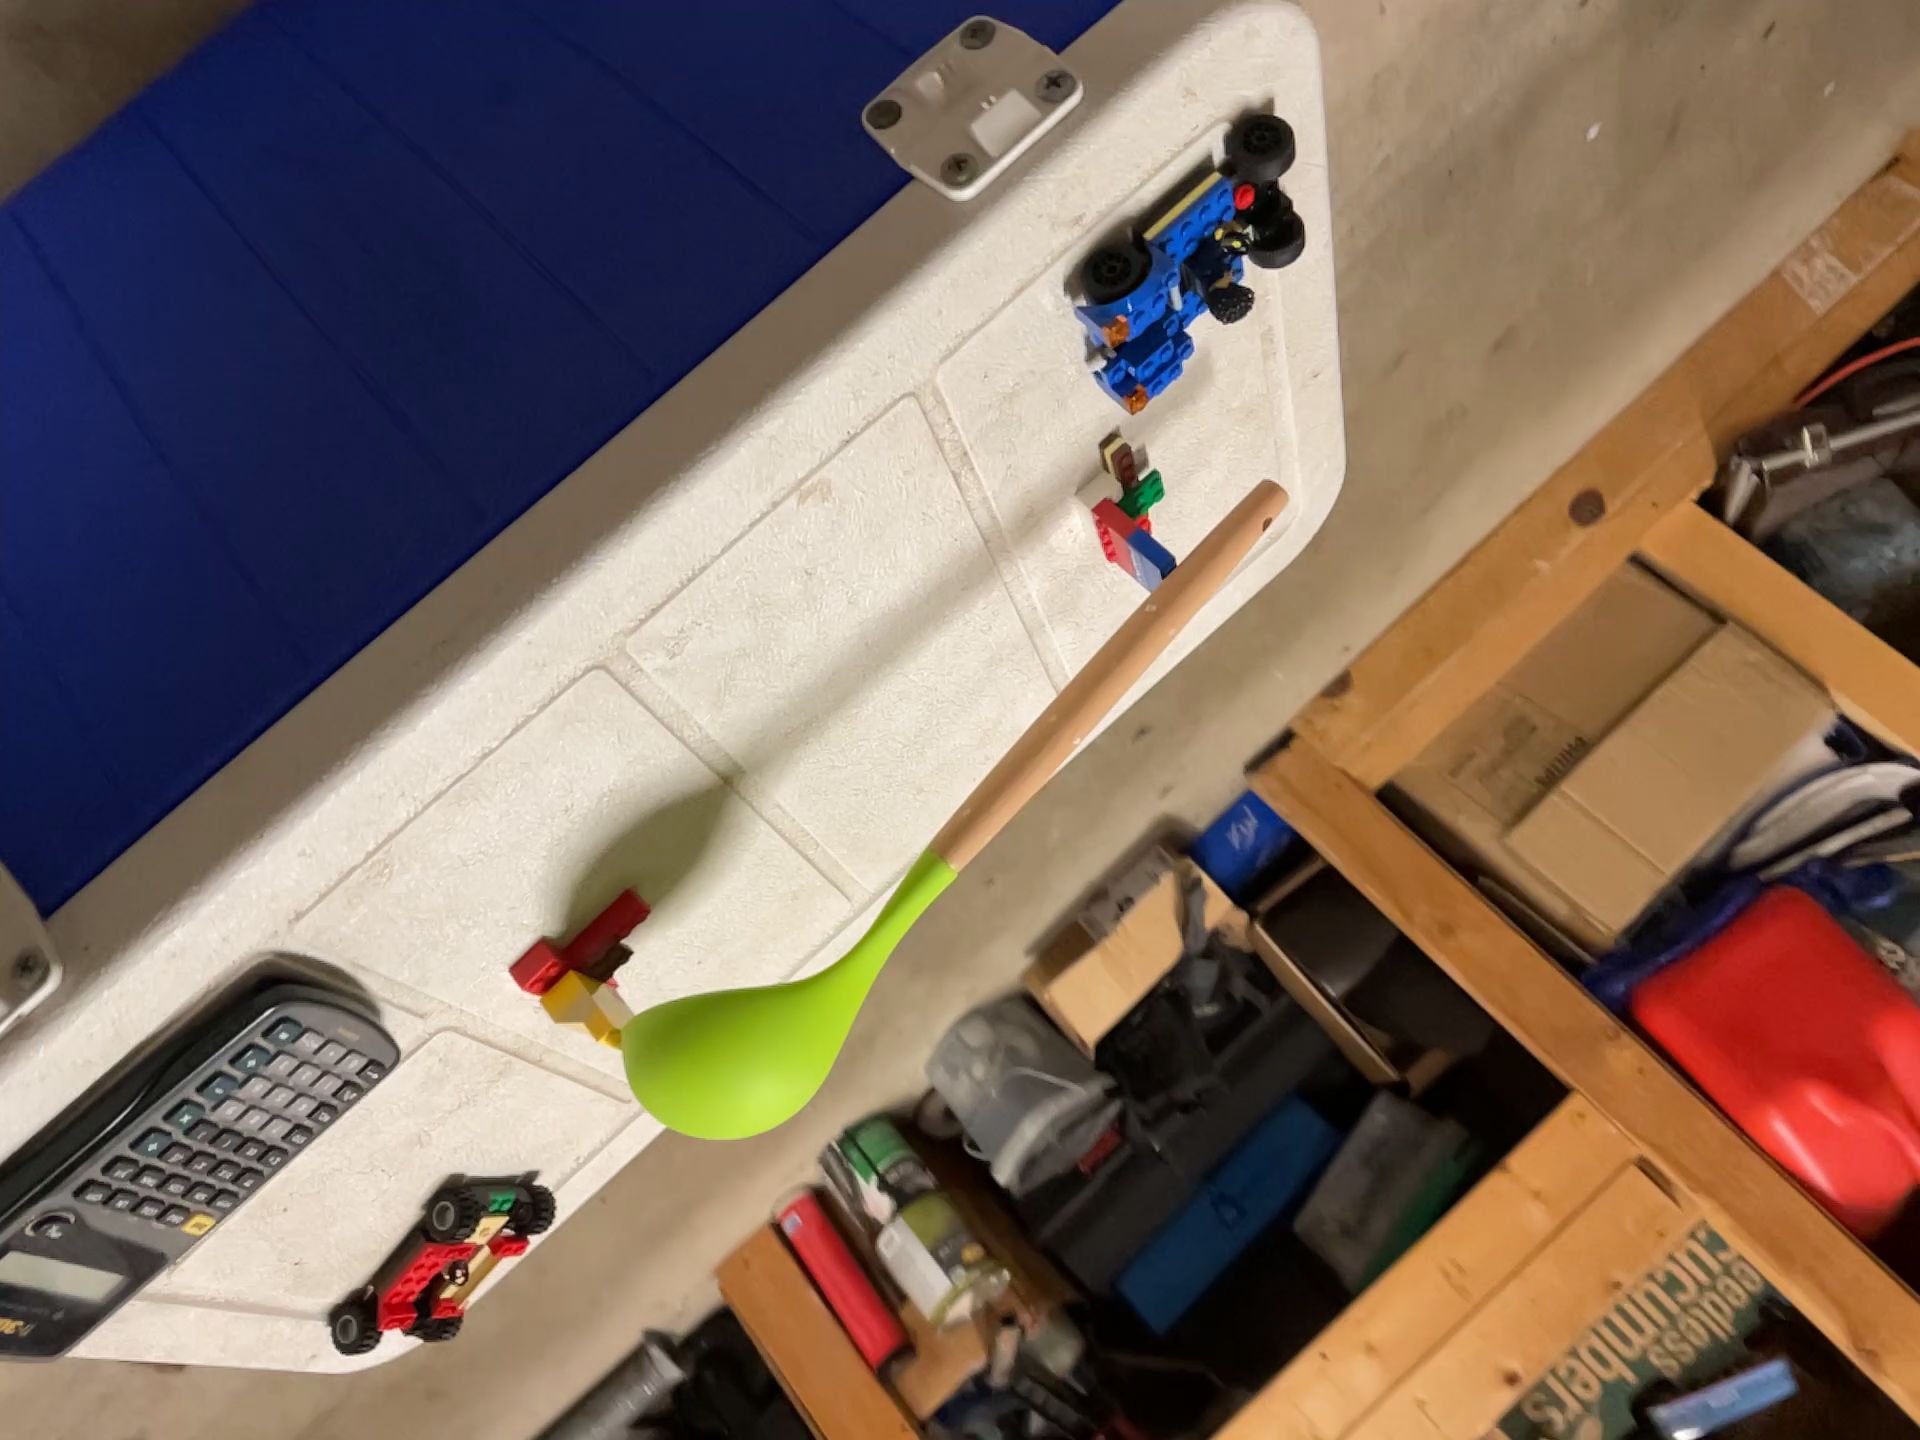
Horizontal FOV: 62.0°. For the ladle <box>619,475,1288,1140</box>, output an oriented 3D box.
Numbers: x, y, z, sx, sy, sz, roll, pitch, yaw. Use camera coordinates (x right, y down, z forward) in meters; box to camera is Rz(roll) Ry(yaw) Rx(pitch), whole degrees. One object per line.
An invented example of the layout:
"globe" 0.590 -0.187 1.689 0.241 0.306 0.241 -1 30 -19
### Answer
"ladle" 0.003 0.024 0.579 0.320 0.062 0.078 -48 147 -7
